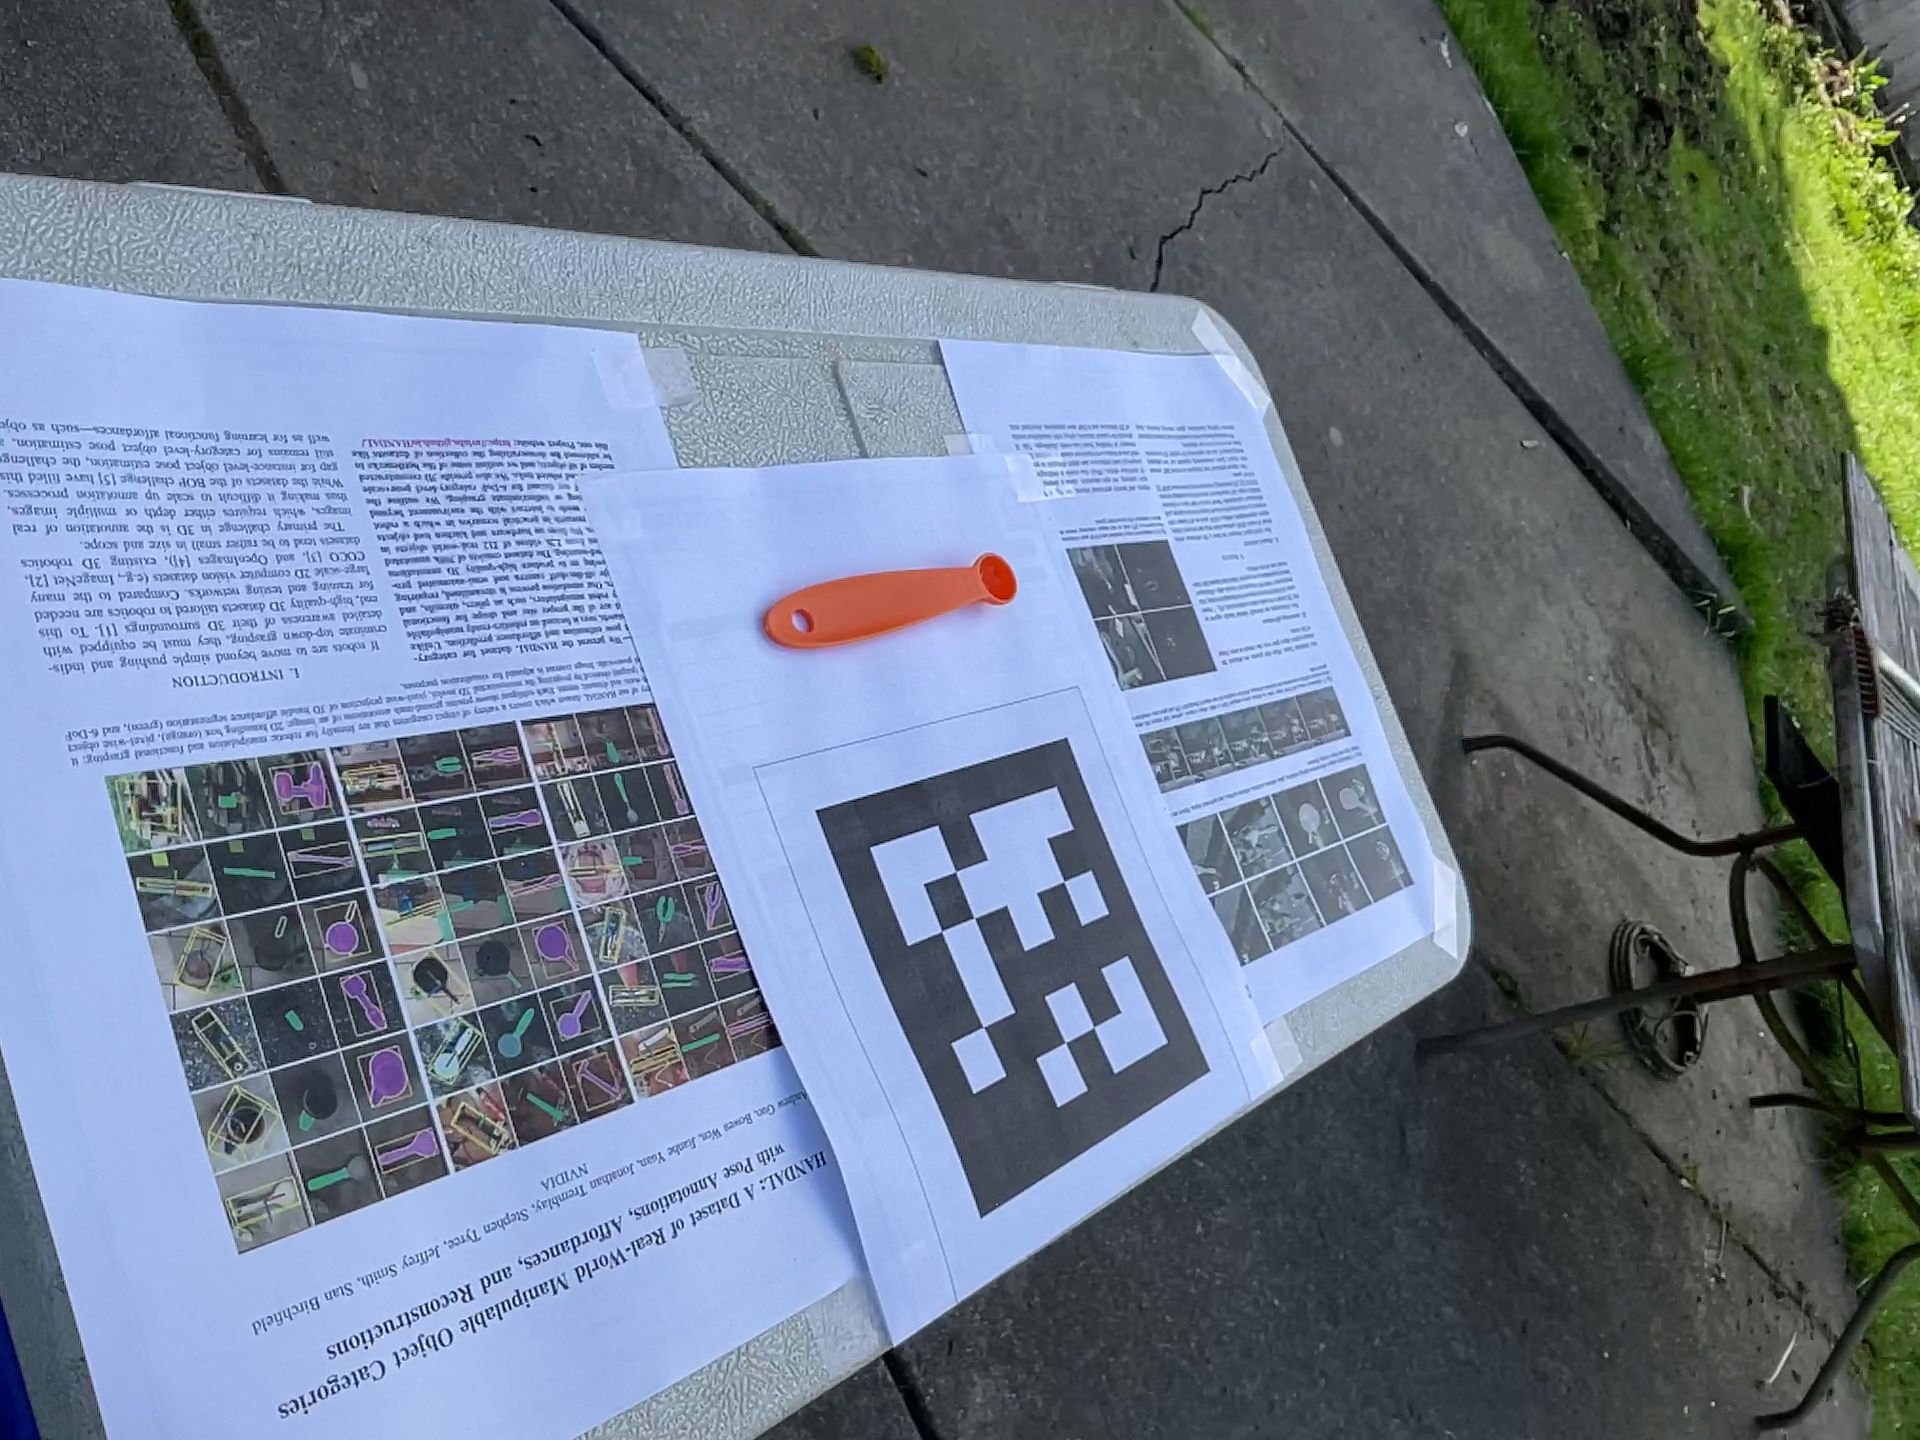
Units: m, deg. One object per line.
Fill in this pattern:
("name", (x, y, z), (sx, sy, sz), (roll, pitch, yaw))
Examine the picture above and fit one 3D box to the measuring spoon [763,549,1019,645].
("measuring spoon", (-0.022, -0.040, 0.529), (0.117, 0.011, 0.021), (-17, 83, -46))
